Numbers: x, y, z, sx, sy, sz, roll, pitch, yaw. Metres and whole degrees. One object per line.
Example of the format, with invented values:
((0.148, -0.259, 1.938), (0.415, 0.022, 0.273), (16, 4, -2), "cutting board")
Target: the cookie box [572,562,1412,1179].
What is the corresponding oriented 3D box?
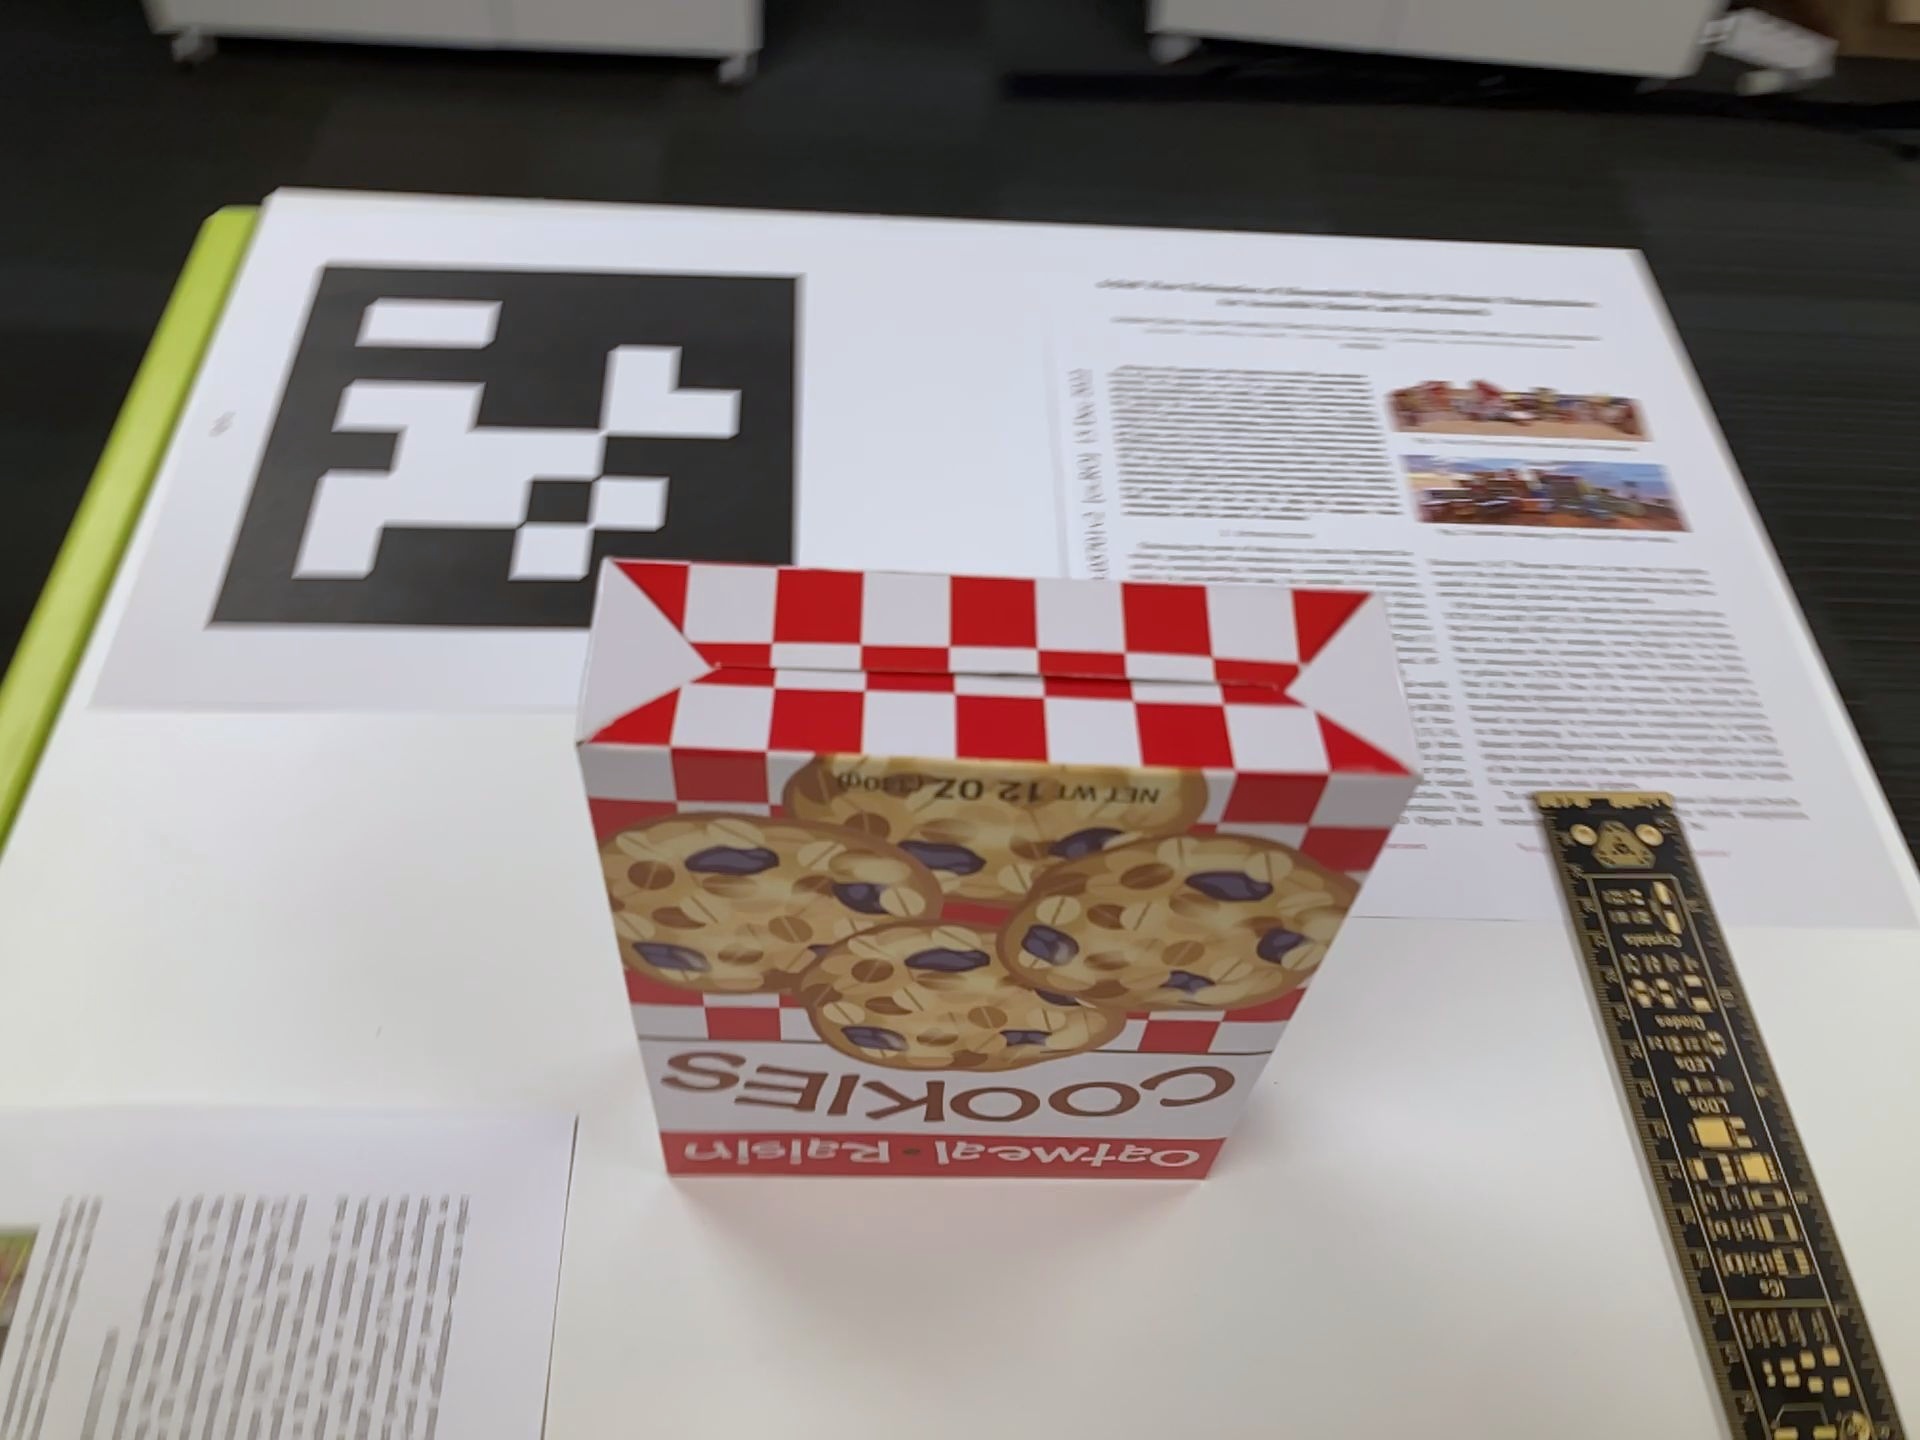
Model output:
((0.000, 0.040, 0.305), (0.123, 0.167, 0.040), (2, 53, -3), "cookie box")
